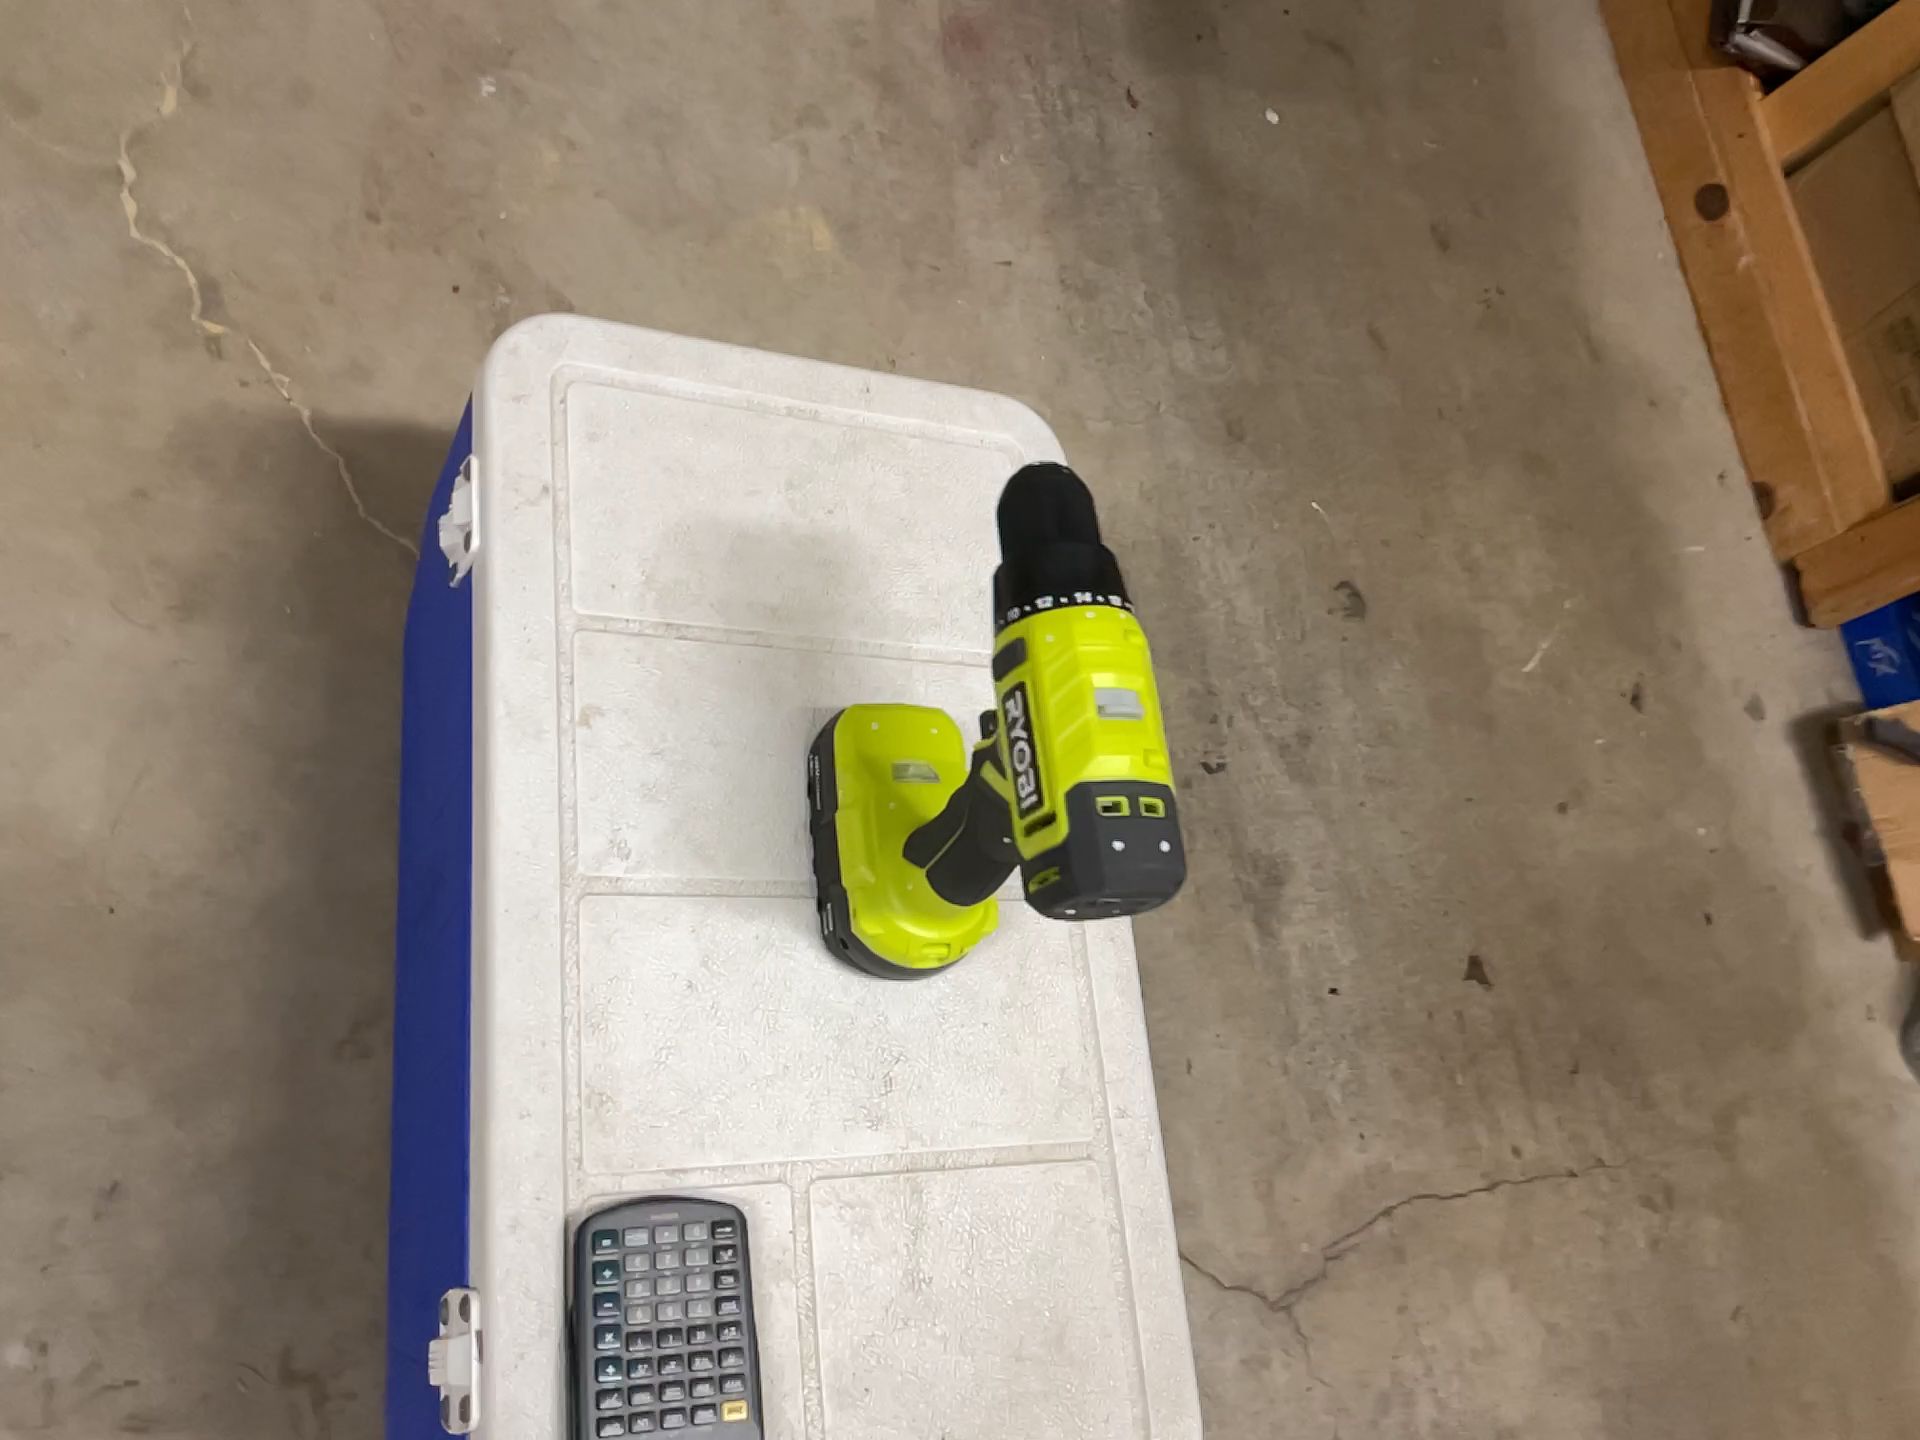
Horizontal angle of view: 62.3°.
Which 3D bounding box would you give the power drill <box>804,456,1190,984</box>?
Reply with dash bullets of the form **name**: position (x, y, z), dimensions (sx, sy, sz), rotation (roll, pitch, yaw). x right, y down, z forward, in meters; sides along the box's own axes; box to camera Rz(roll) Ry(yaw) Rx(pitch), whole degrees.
- **power drill**: position (0.009, 0.011, 0.705), dimensions (0.080, 0.228, 0.191), rotation (3, 67, -28)
